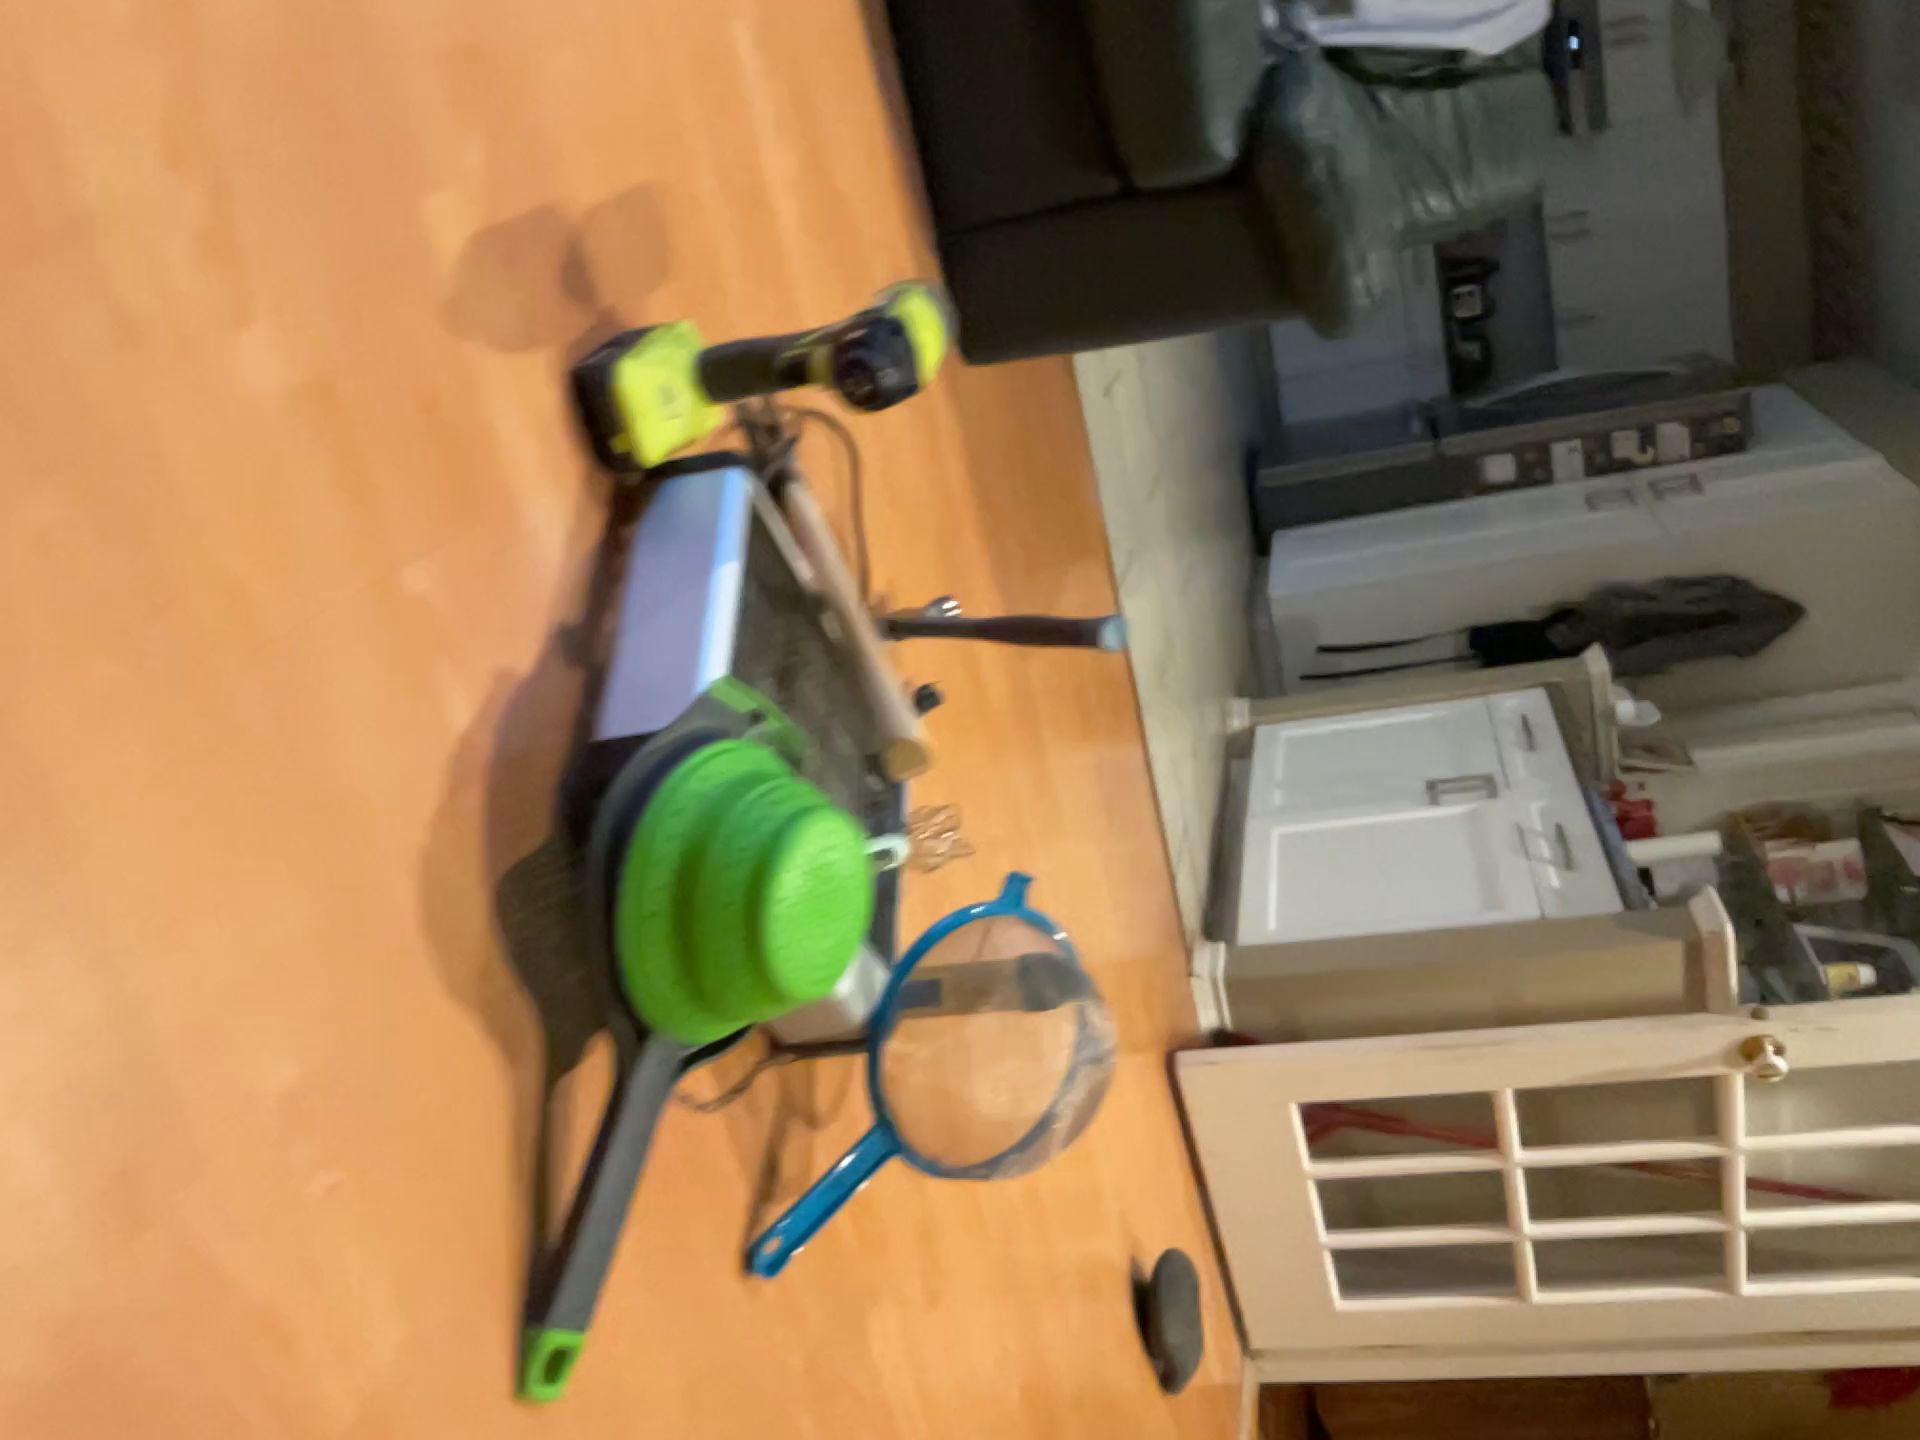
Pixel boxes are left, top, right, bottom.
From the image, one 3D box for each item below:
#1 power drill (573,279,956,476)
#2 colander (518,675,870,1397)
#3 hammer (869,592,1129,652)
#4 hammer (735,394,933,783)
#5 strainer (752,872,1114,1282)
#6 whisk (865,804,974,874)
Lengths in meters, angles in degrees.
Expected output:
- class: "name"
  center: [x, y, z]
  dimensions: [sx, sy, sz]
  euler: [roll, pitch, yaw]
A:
- class: "power drill"
  center: [-0.125, -0.224, 1.039]
  dimensions: [0.171, 0.223, 0.080]
  euler: [-67, 146, -61]
- class: "colander"
  center: [-0.137, 0.173, 0.881]
  dimensions: [0.204, 0.094, 0.397]
  euler: [45, 56, -55]
- class: "hammer"
  center: [0.031, -0.083, 1.421]
  dimensions: [0.128, 0.331, 0.033]
  euler: [-20, 106, -33]
- class: "hammer"
  center: [-0.092, -0.097, 1.158]
  dimensions: [0.411, 0.038, 0.146]
  euler: [-117, -174, -52]
- class: "strainer"
  center: [-0.002, 0.282, 1.147]
  dimensions: [0.341, 0.095, 0.210]
  euler: [-41, 117, -29]
- class: "whisk"
  center: [-0.046, 0.097, 1.200]
  dimensions: [0.057, 0.059, 0.246]
  euler: [-69, 163, 8]
